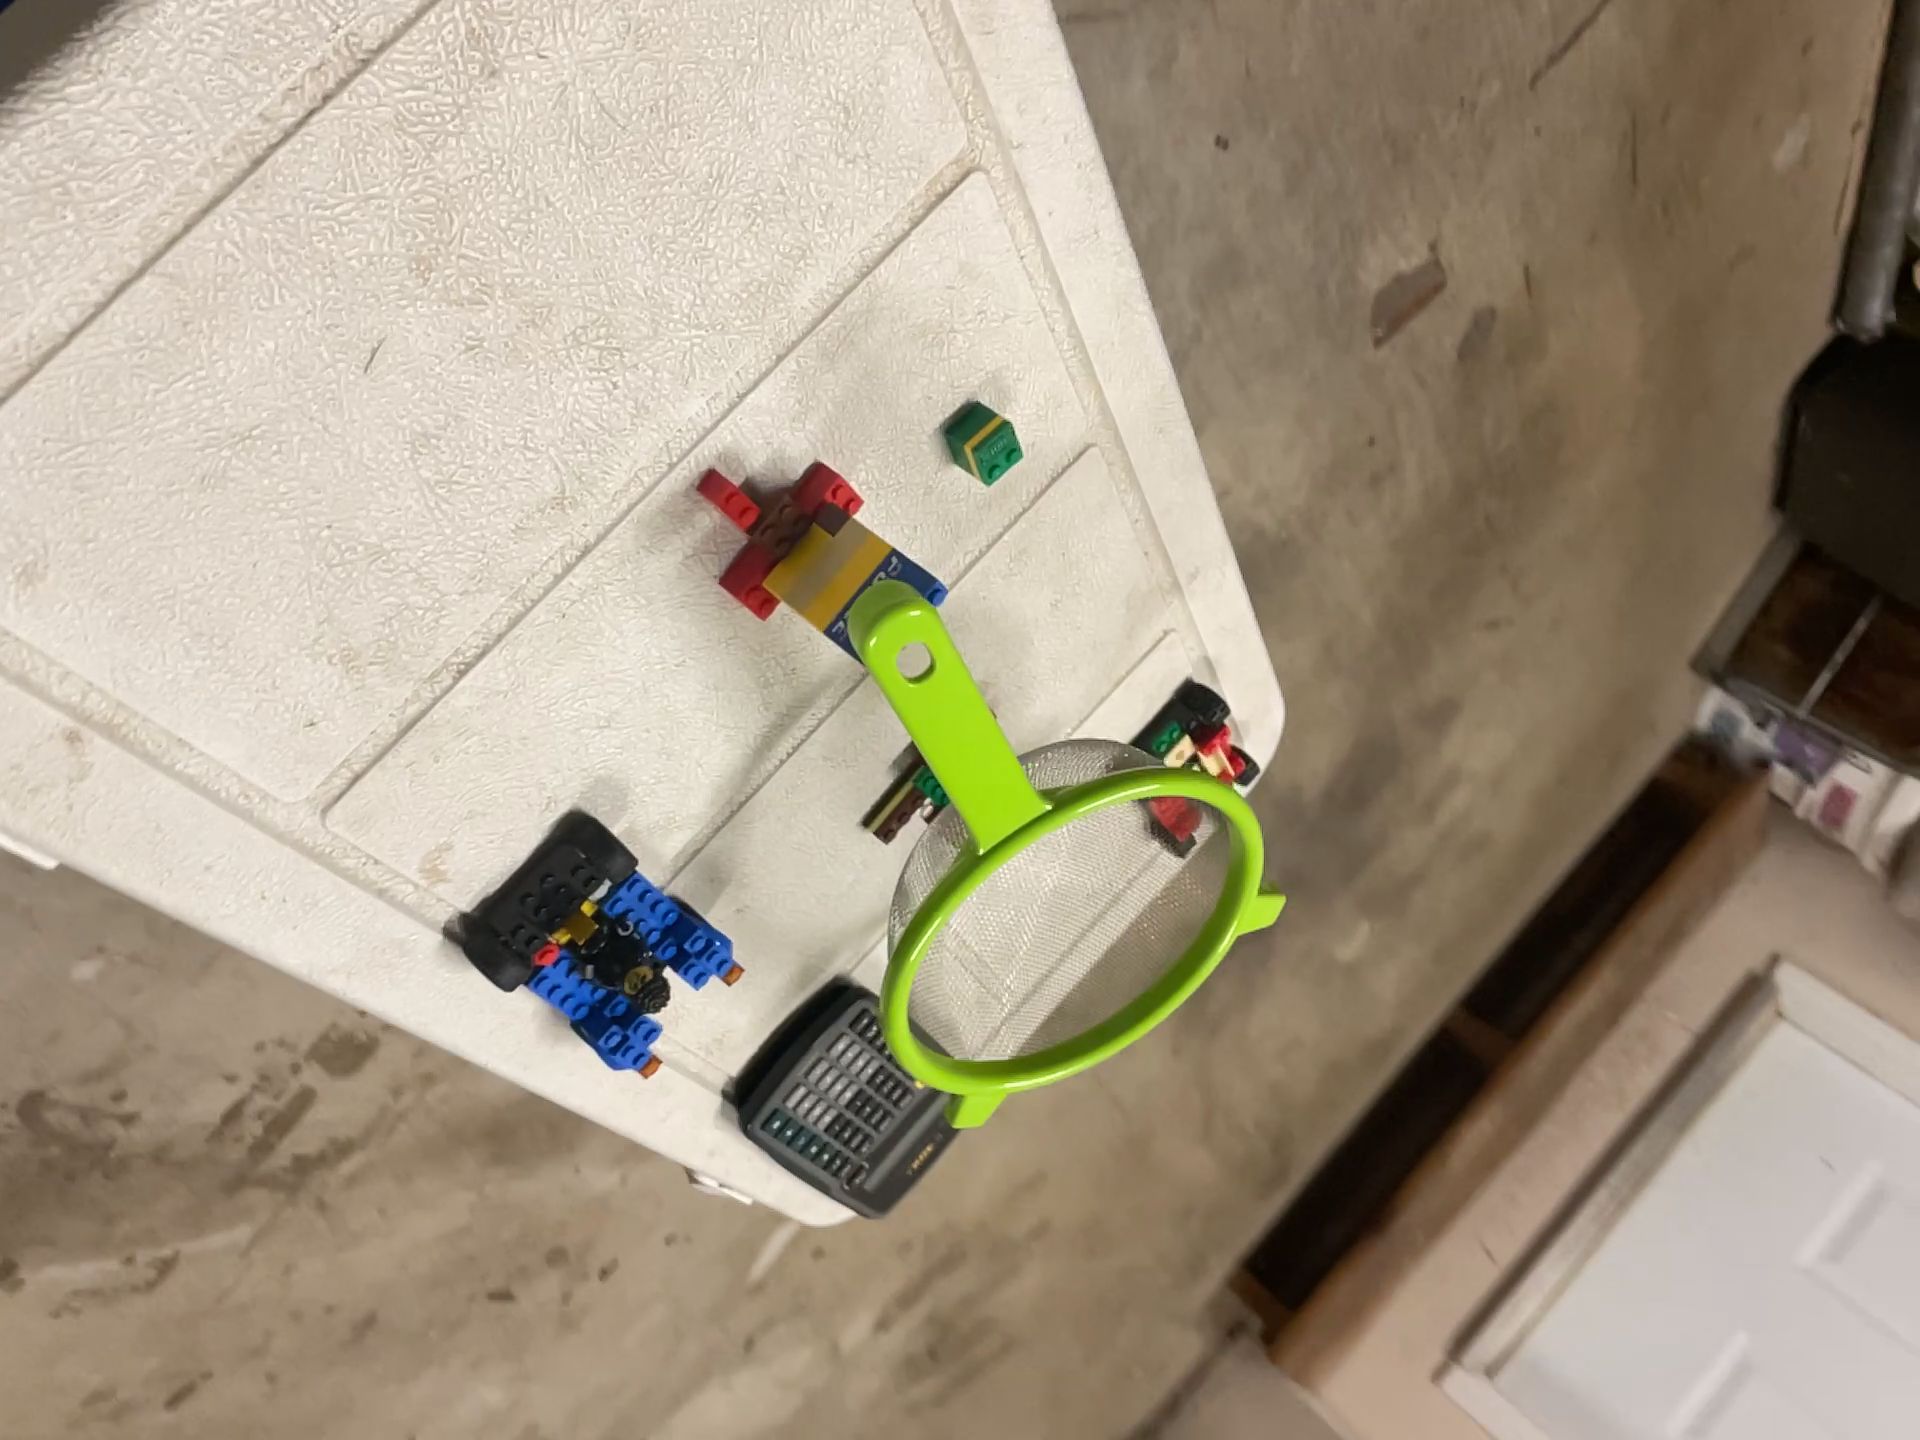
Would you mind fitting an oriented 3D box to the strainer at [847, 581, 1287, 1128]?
[{"bbox_3d":[0.011,0.029,0.536,0.151,0.069,0.256,-34,137,-3],"label":"strainer"}]
